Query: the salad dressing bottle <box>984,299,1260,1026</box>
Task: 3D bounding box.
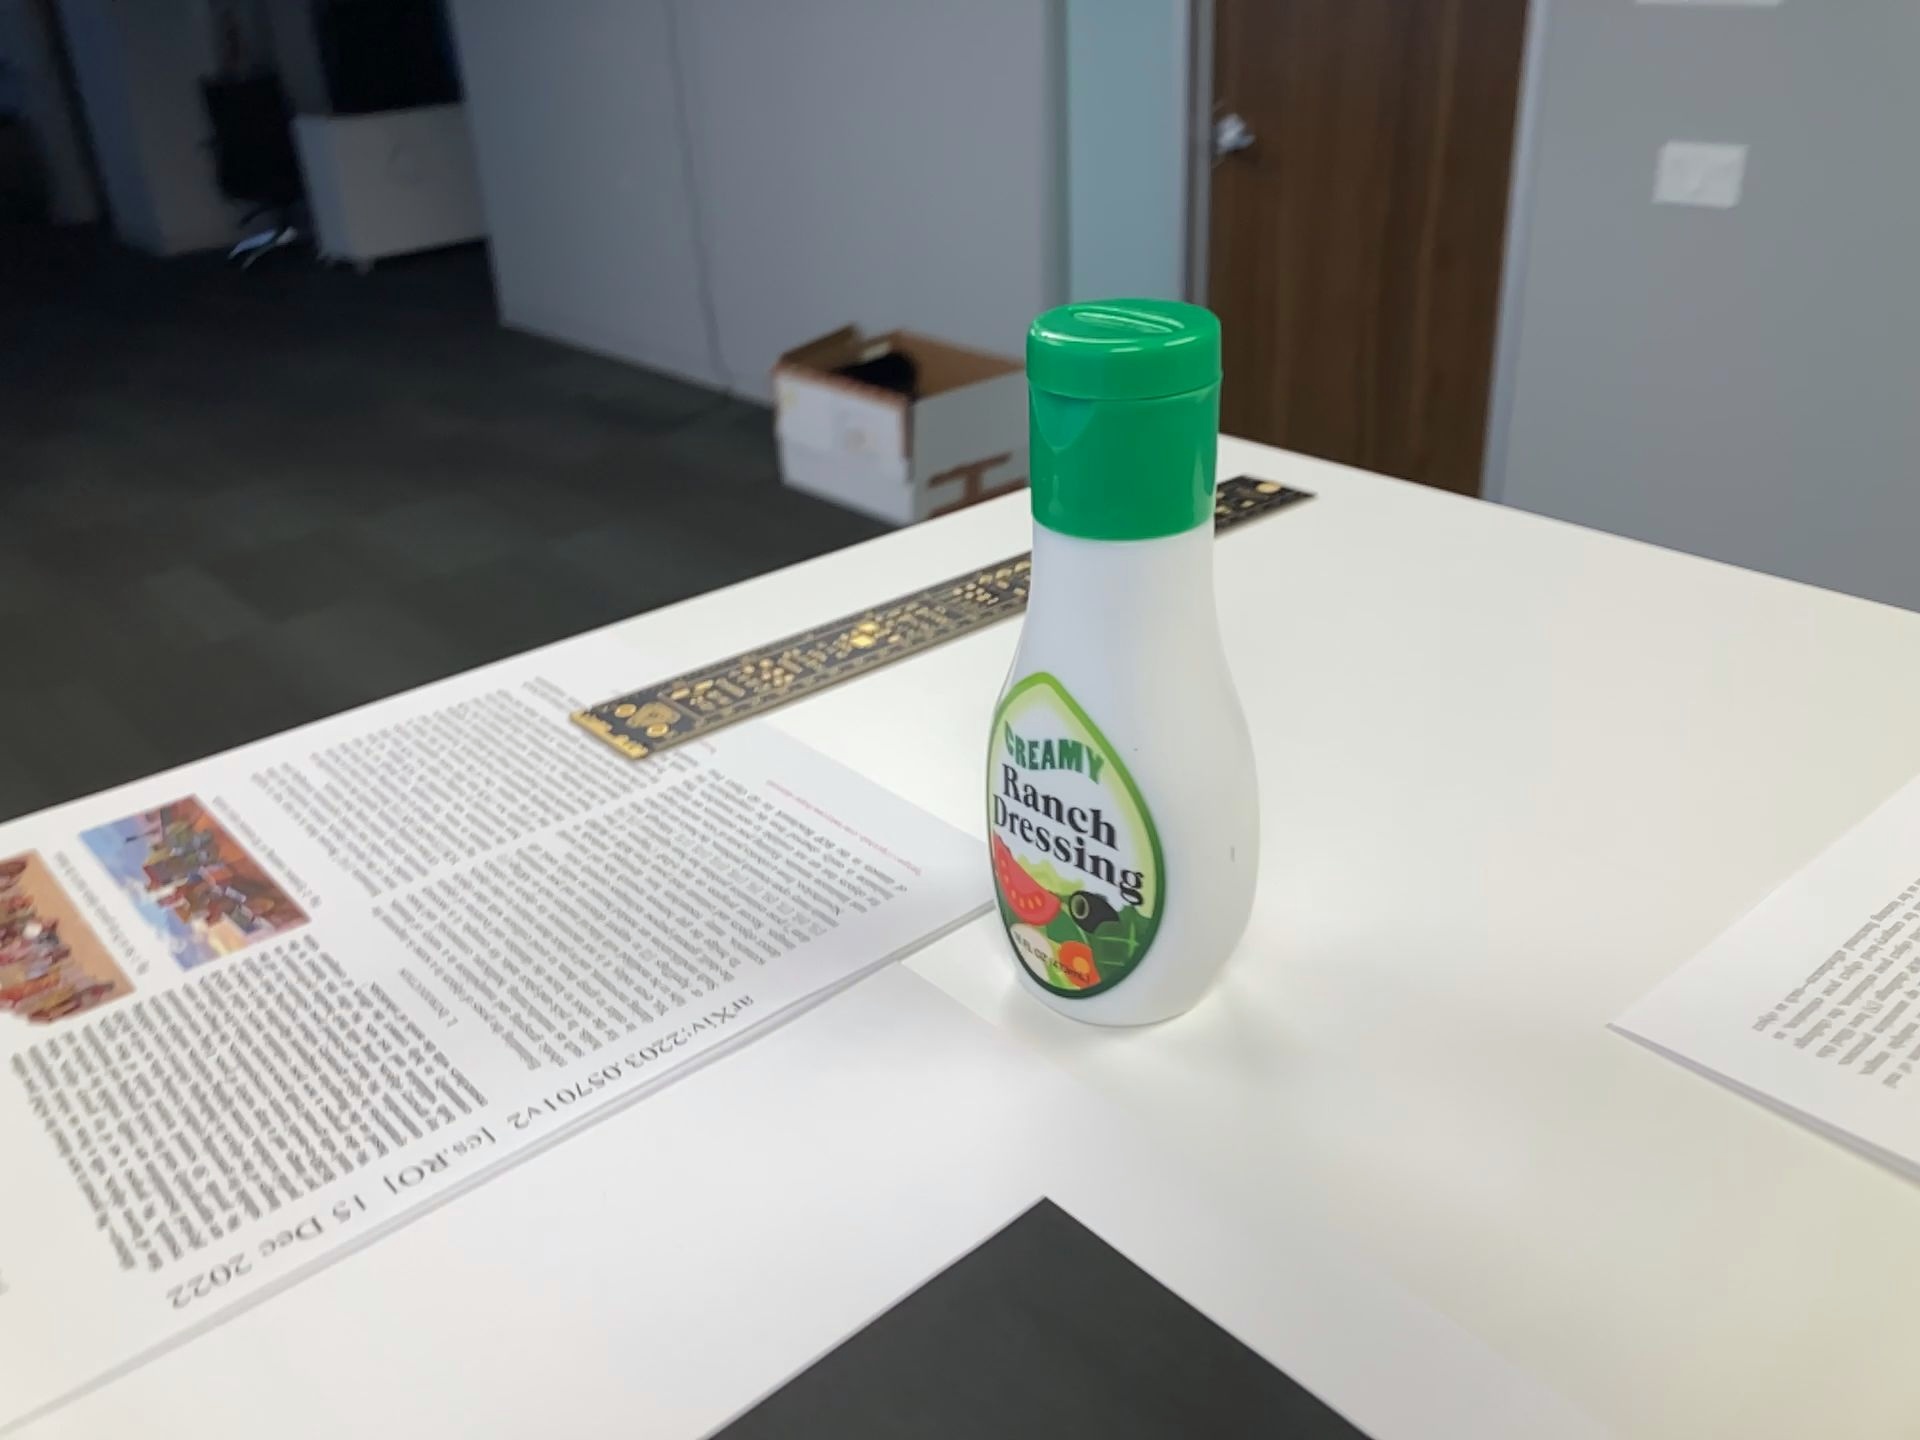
[{"bbox_3d":[0.033,-0.009,0.327,0.044,0.147,0.064,-22,33,-35],"label":"salad dressing bottle"}]
